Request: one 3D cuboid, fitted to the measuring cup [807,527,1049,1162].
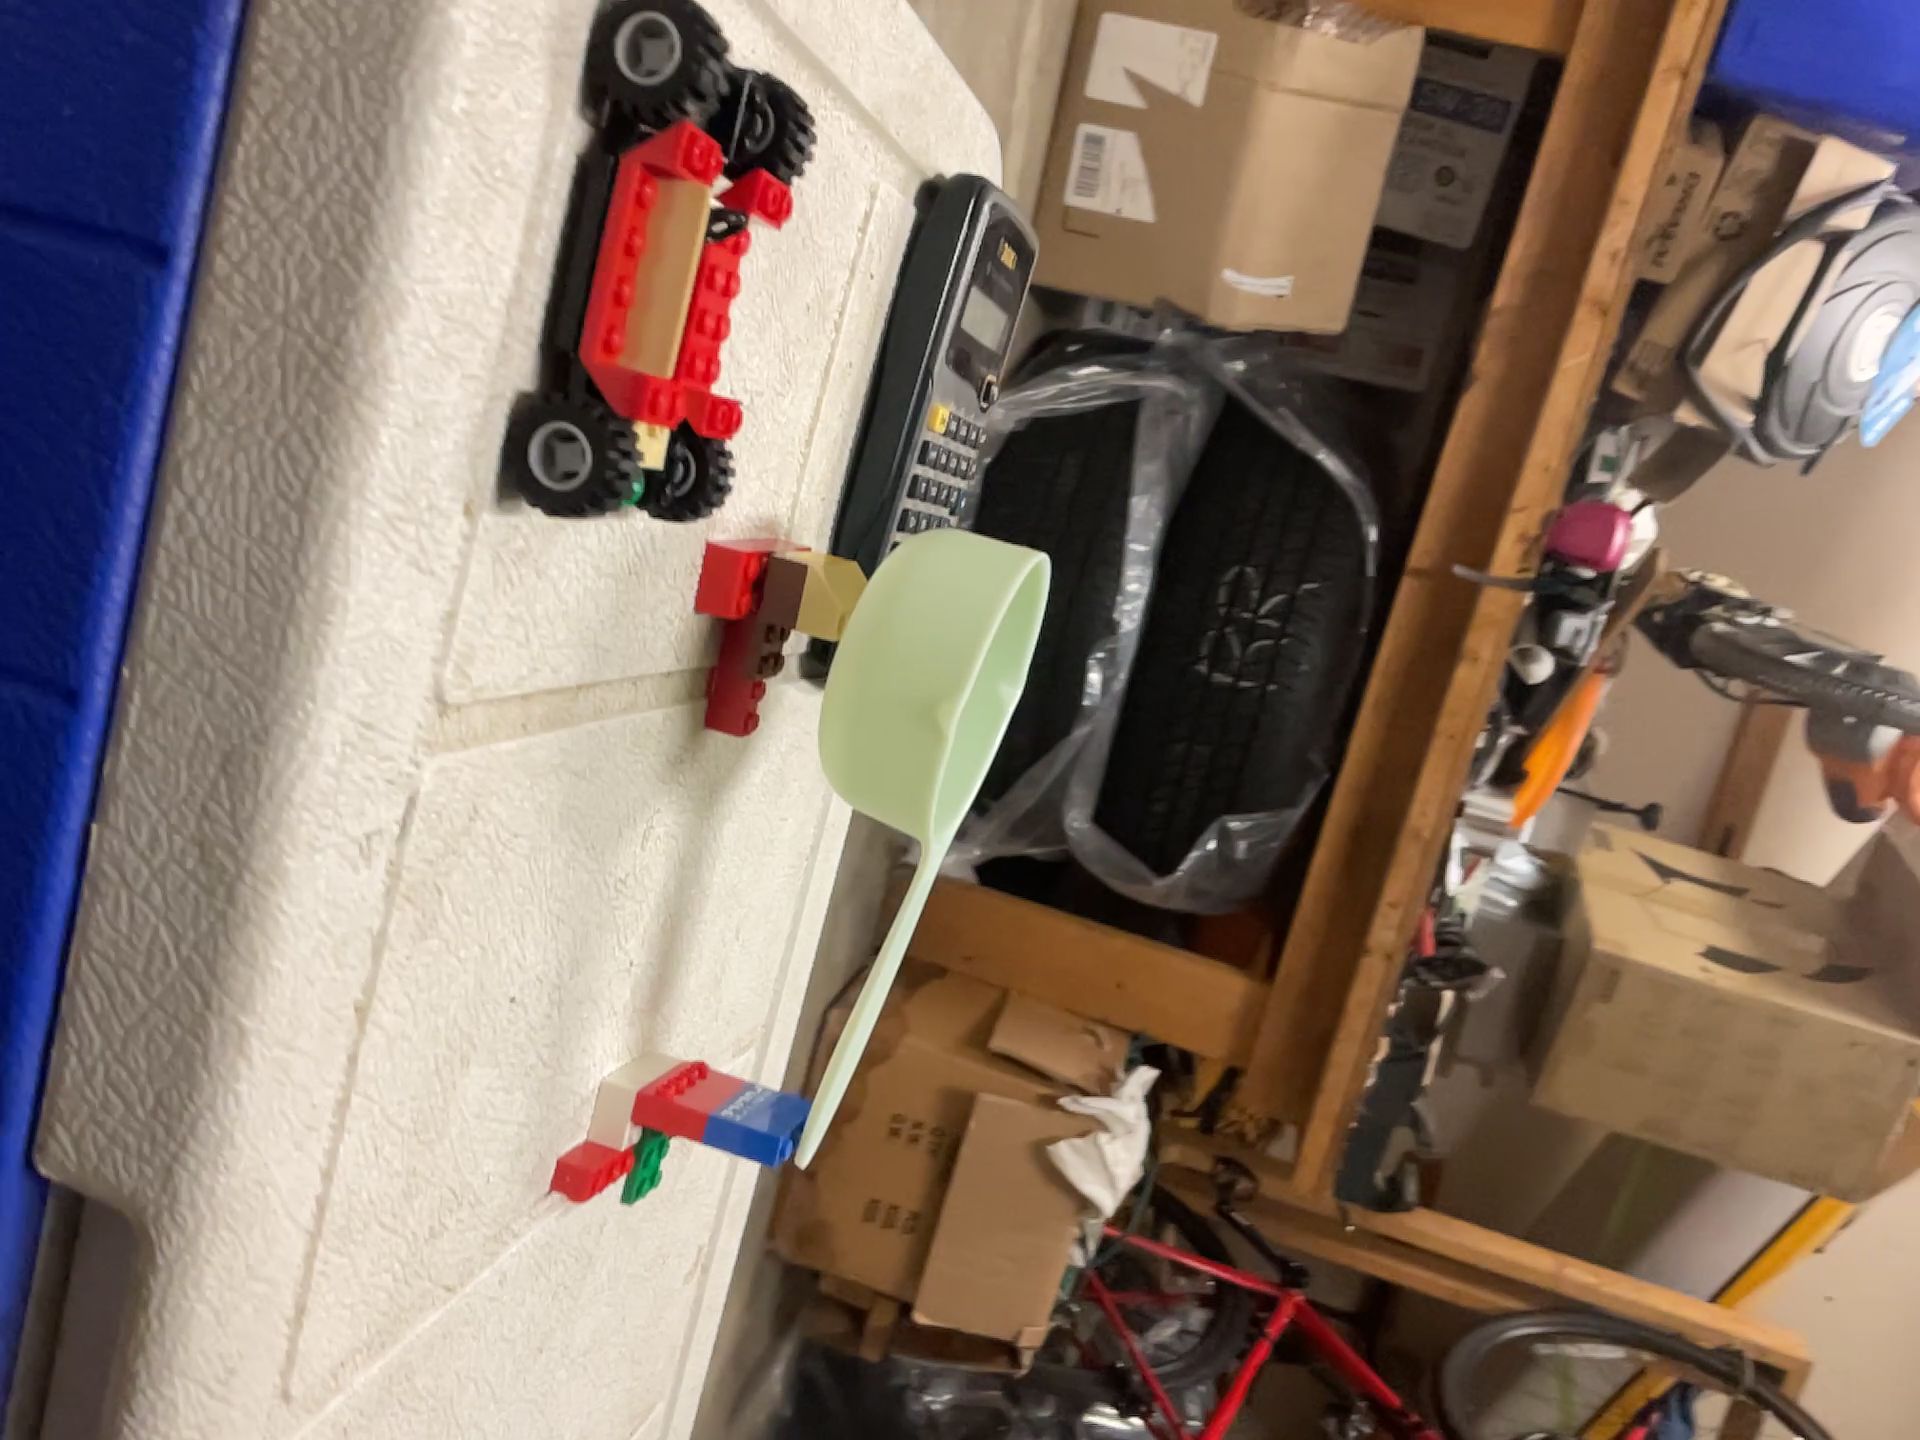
[{"bbox_3d":[-0.023,0.031,0.402,0.083,0.038,0.167,-30,142,-76],"label":"measuring cup"}]
